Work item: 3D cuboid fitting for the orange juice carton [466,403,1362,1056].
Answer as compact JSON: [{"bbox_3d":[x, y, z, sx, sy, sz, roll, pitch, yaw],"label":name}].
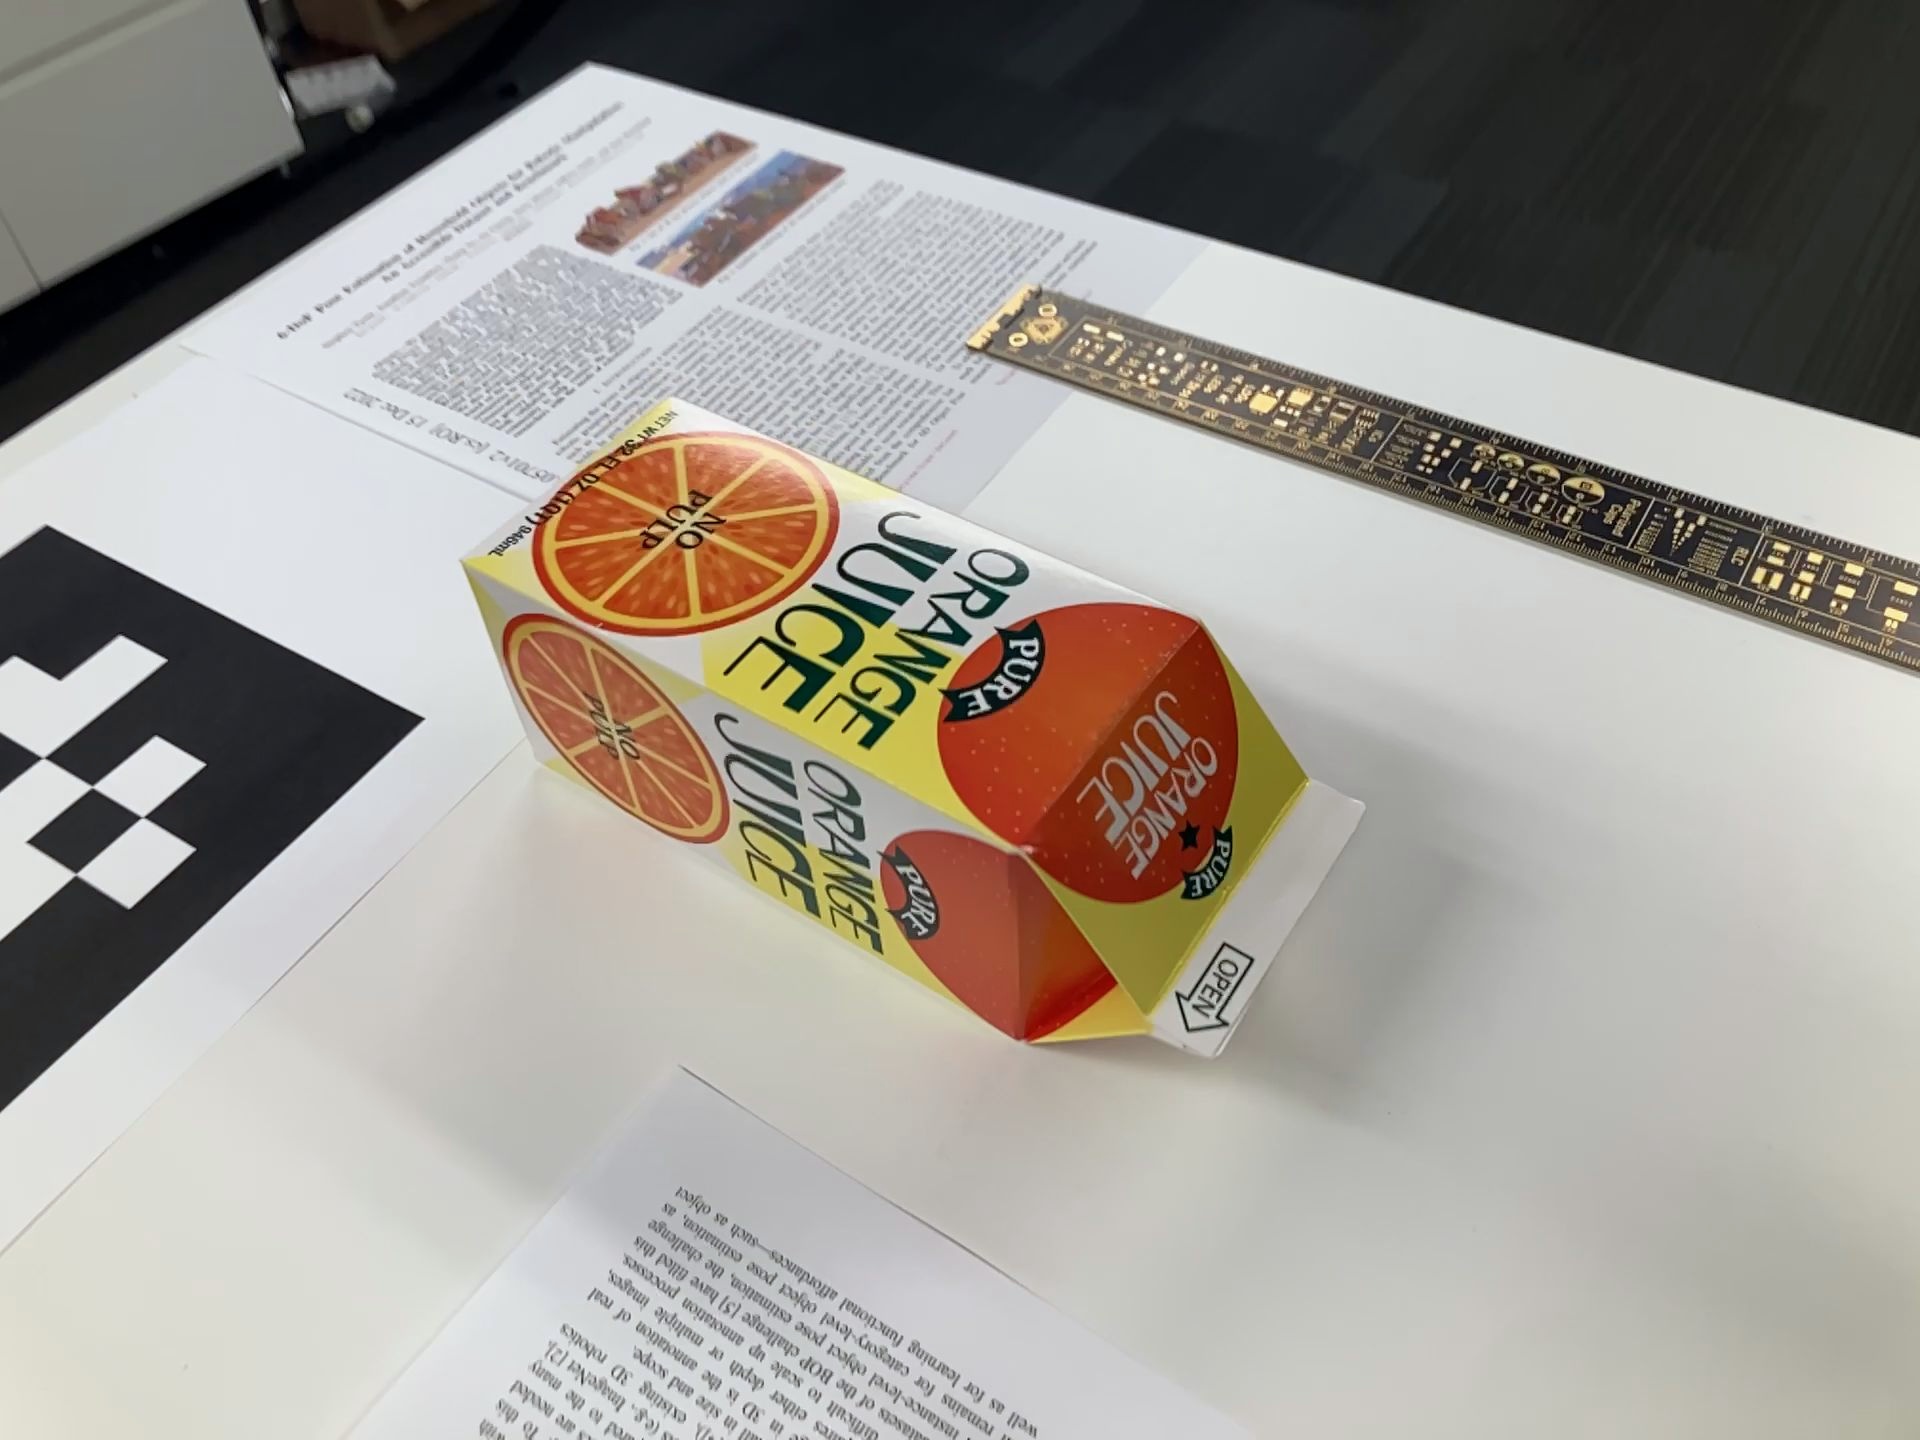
[{"bbox_3d":[-0.012,0.004,0.359,0.192,0.073,0.072,26,55,25],"label":"orange juice carton"}]
